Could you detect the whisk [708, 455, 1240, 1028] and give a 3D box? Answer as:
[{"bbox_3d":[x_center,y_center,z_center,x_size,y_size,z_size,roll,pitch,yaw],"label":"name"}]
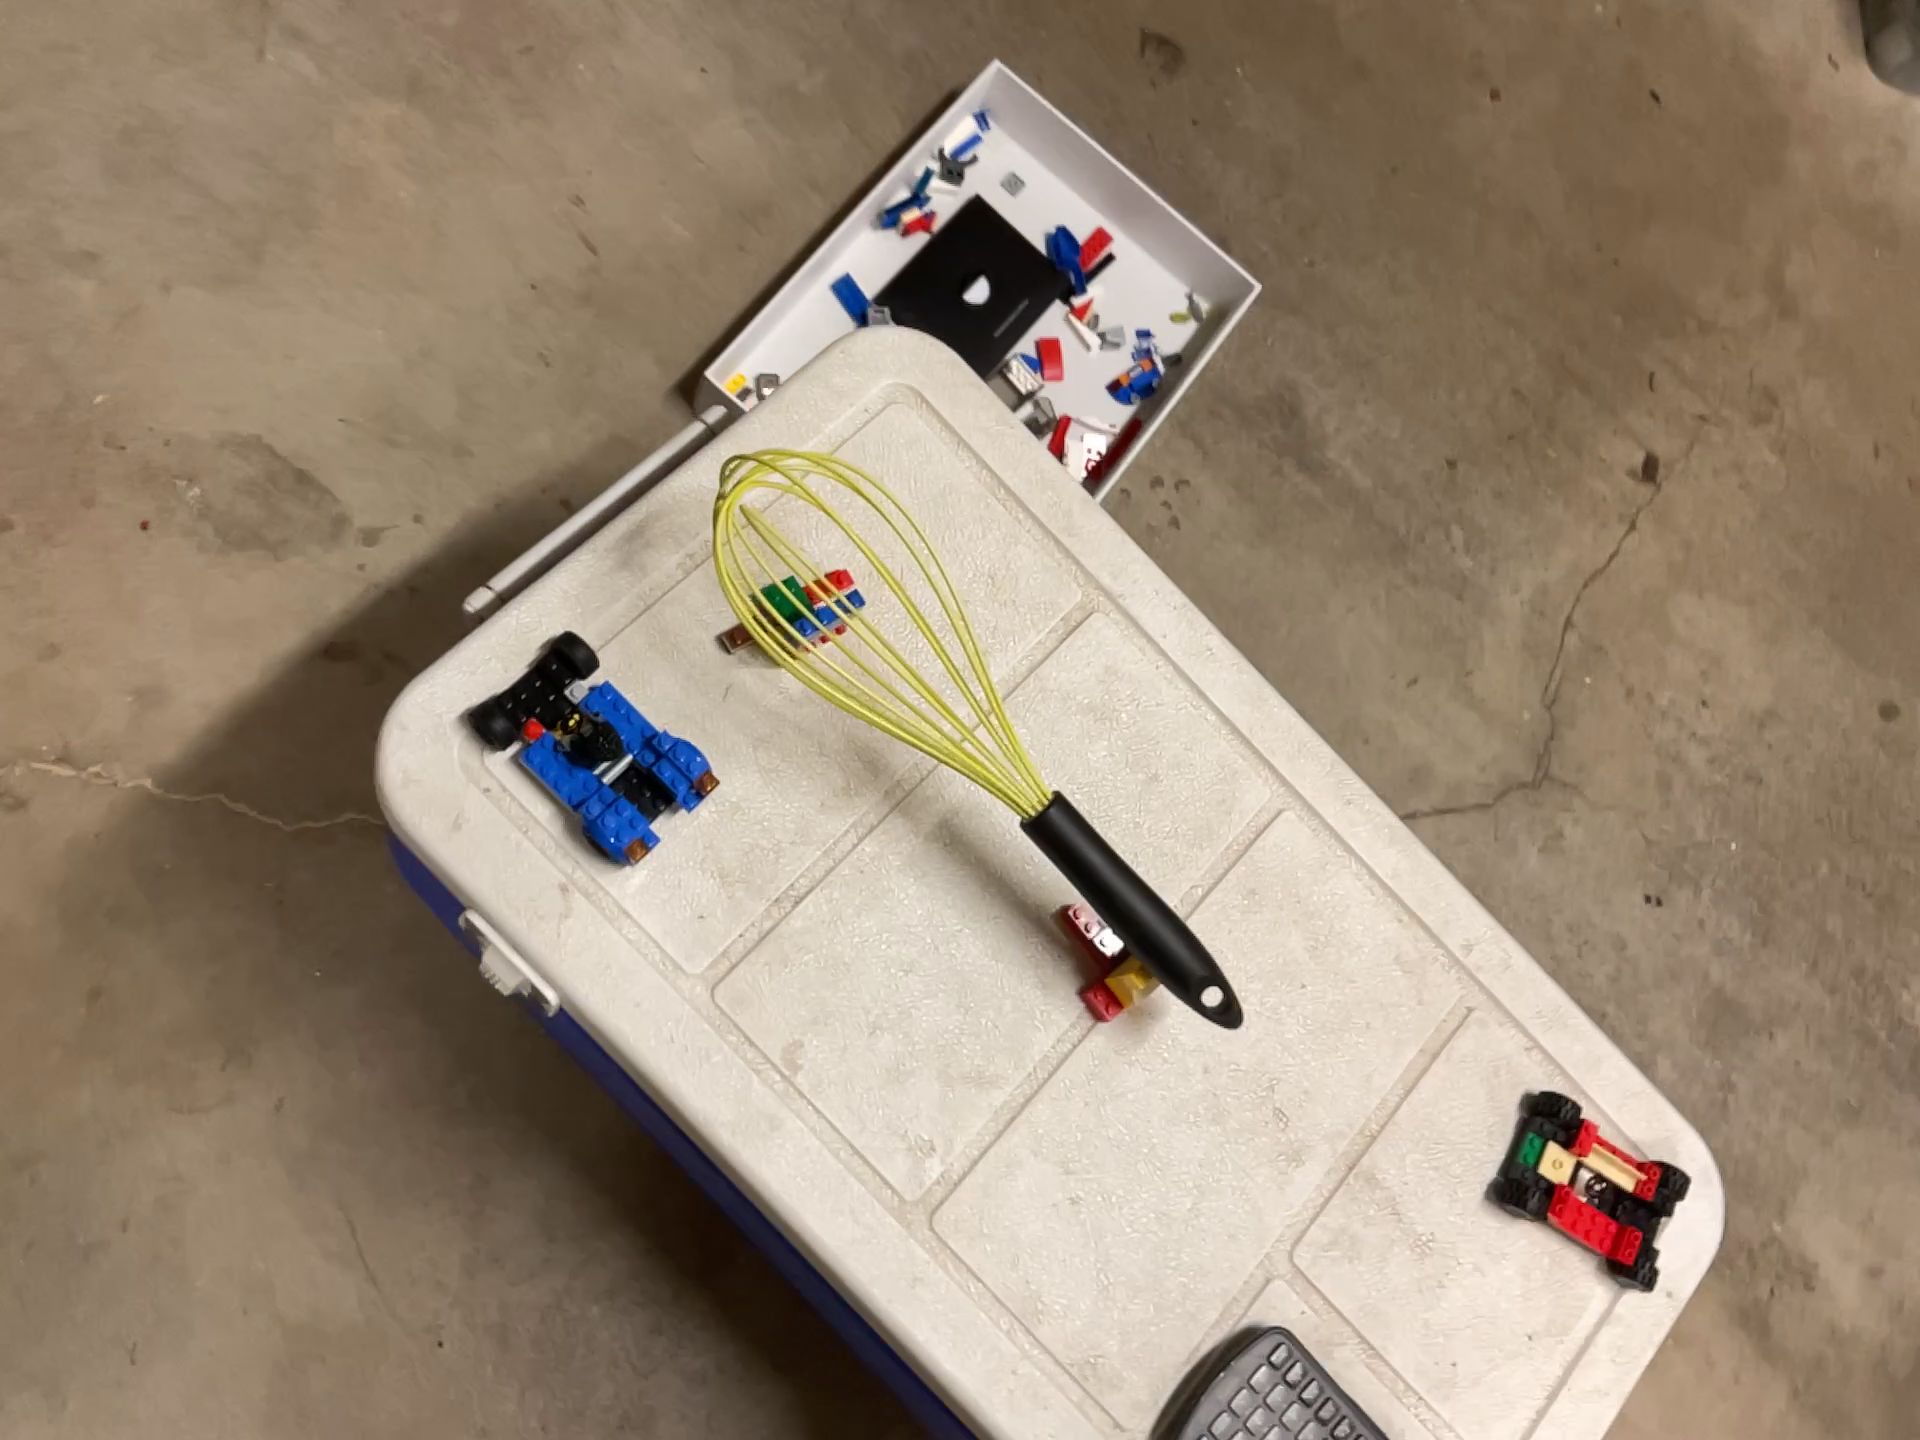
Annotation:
[{"bbox_3d":[0.012,0.014,0.643,0.080,0.067,0.311,-38,101,23],"label":"whisk"}]
